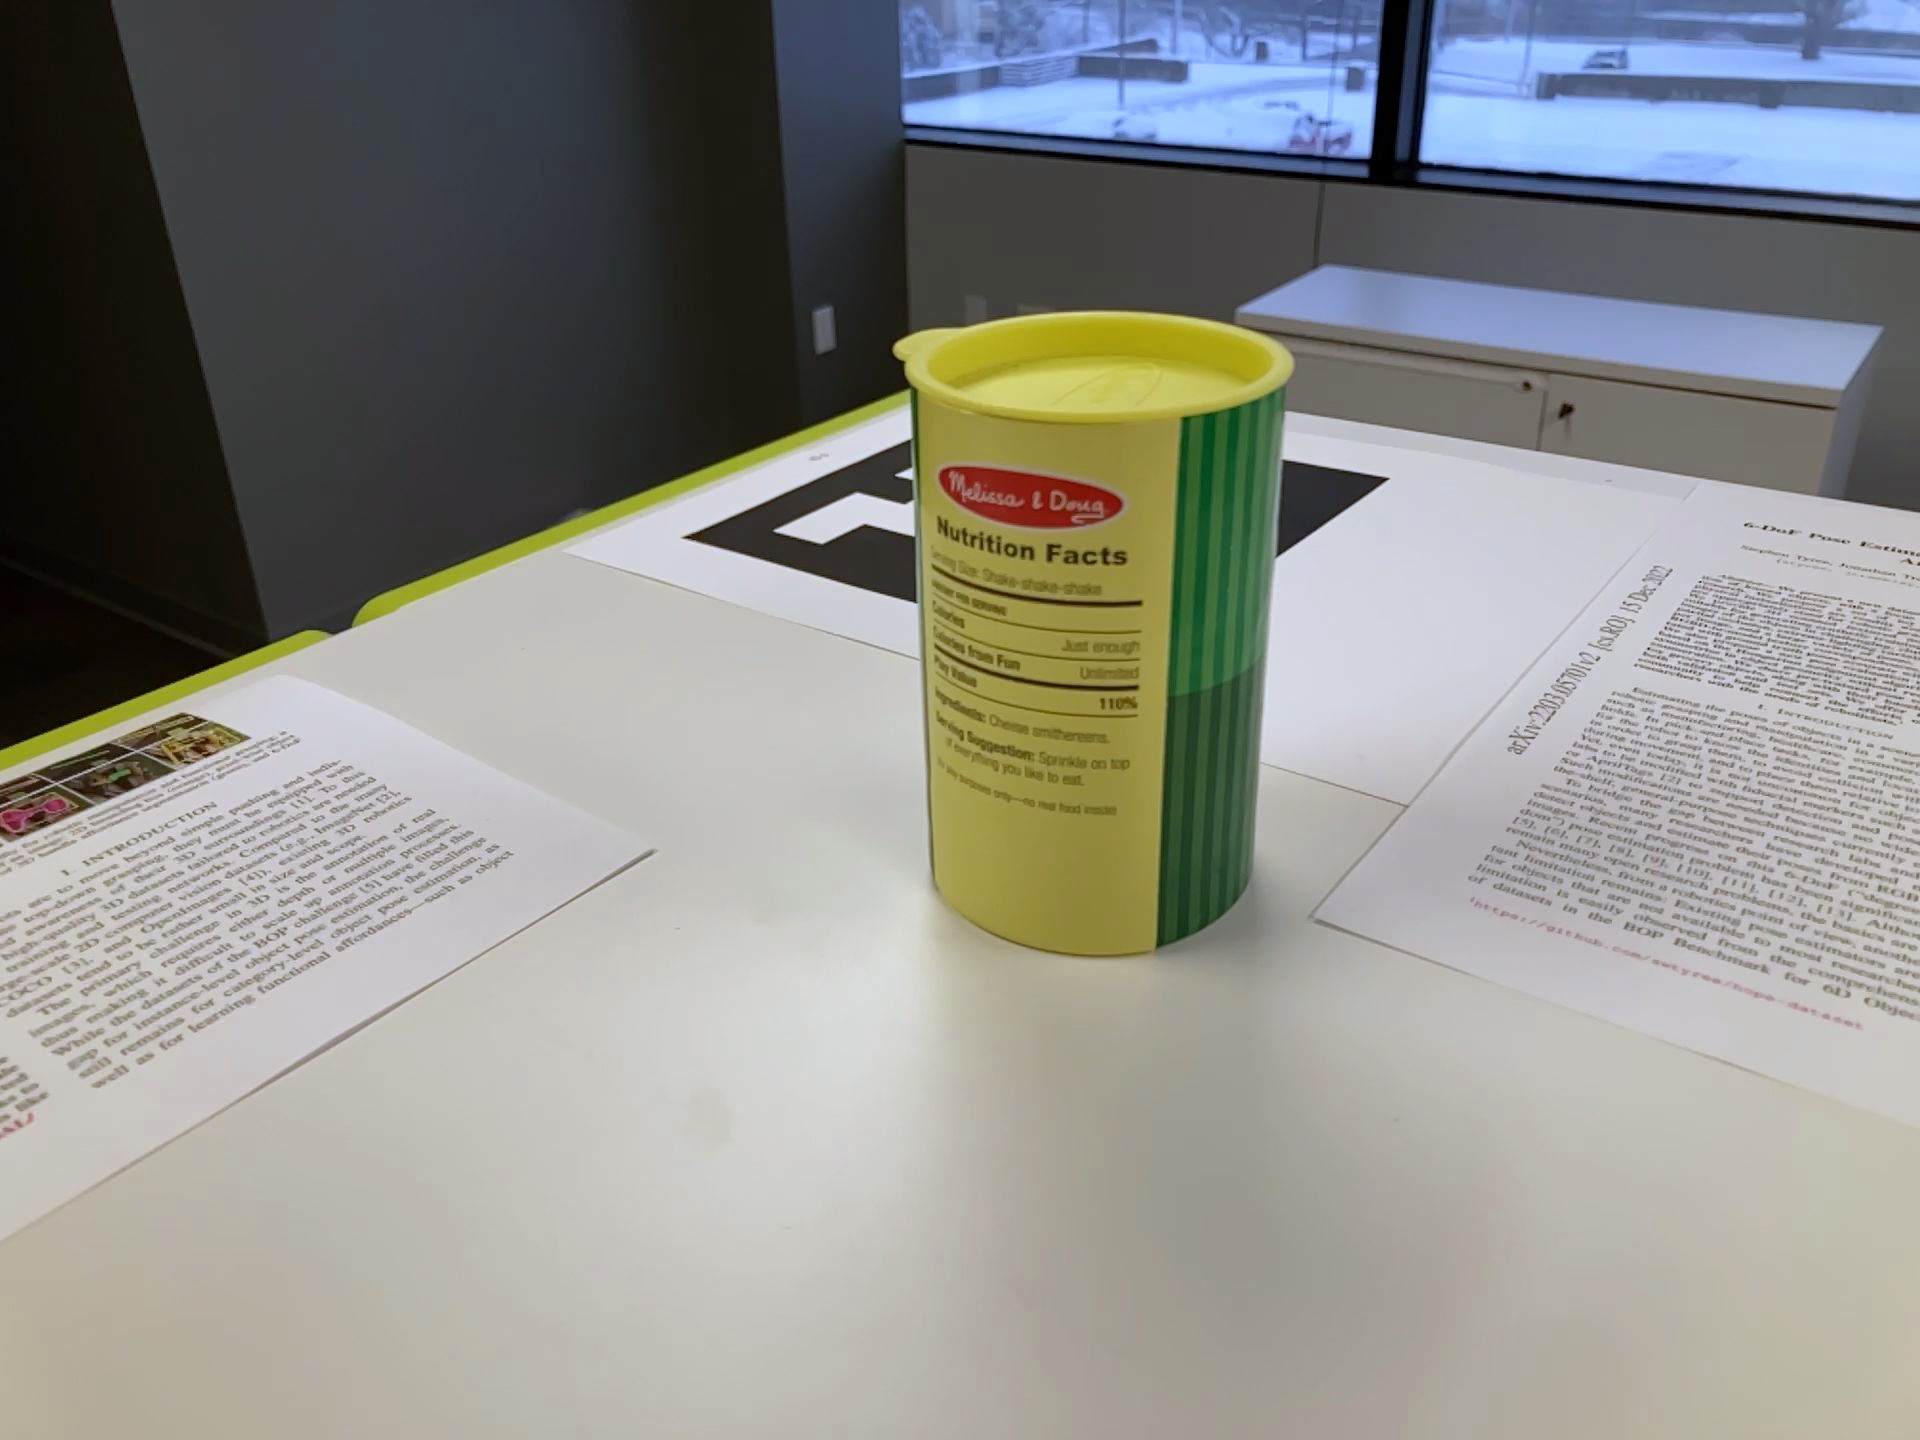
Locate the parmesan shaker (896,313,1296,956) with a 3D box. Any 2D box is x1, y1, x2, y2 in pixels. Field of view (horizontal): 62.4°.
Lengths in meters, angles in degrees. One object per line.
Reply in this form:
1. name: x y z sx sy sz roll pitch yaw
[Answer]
1. parmesan shaker: 0.023 -0.018 0.297 0.071 0.103 0.071 -1 27 1
